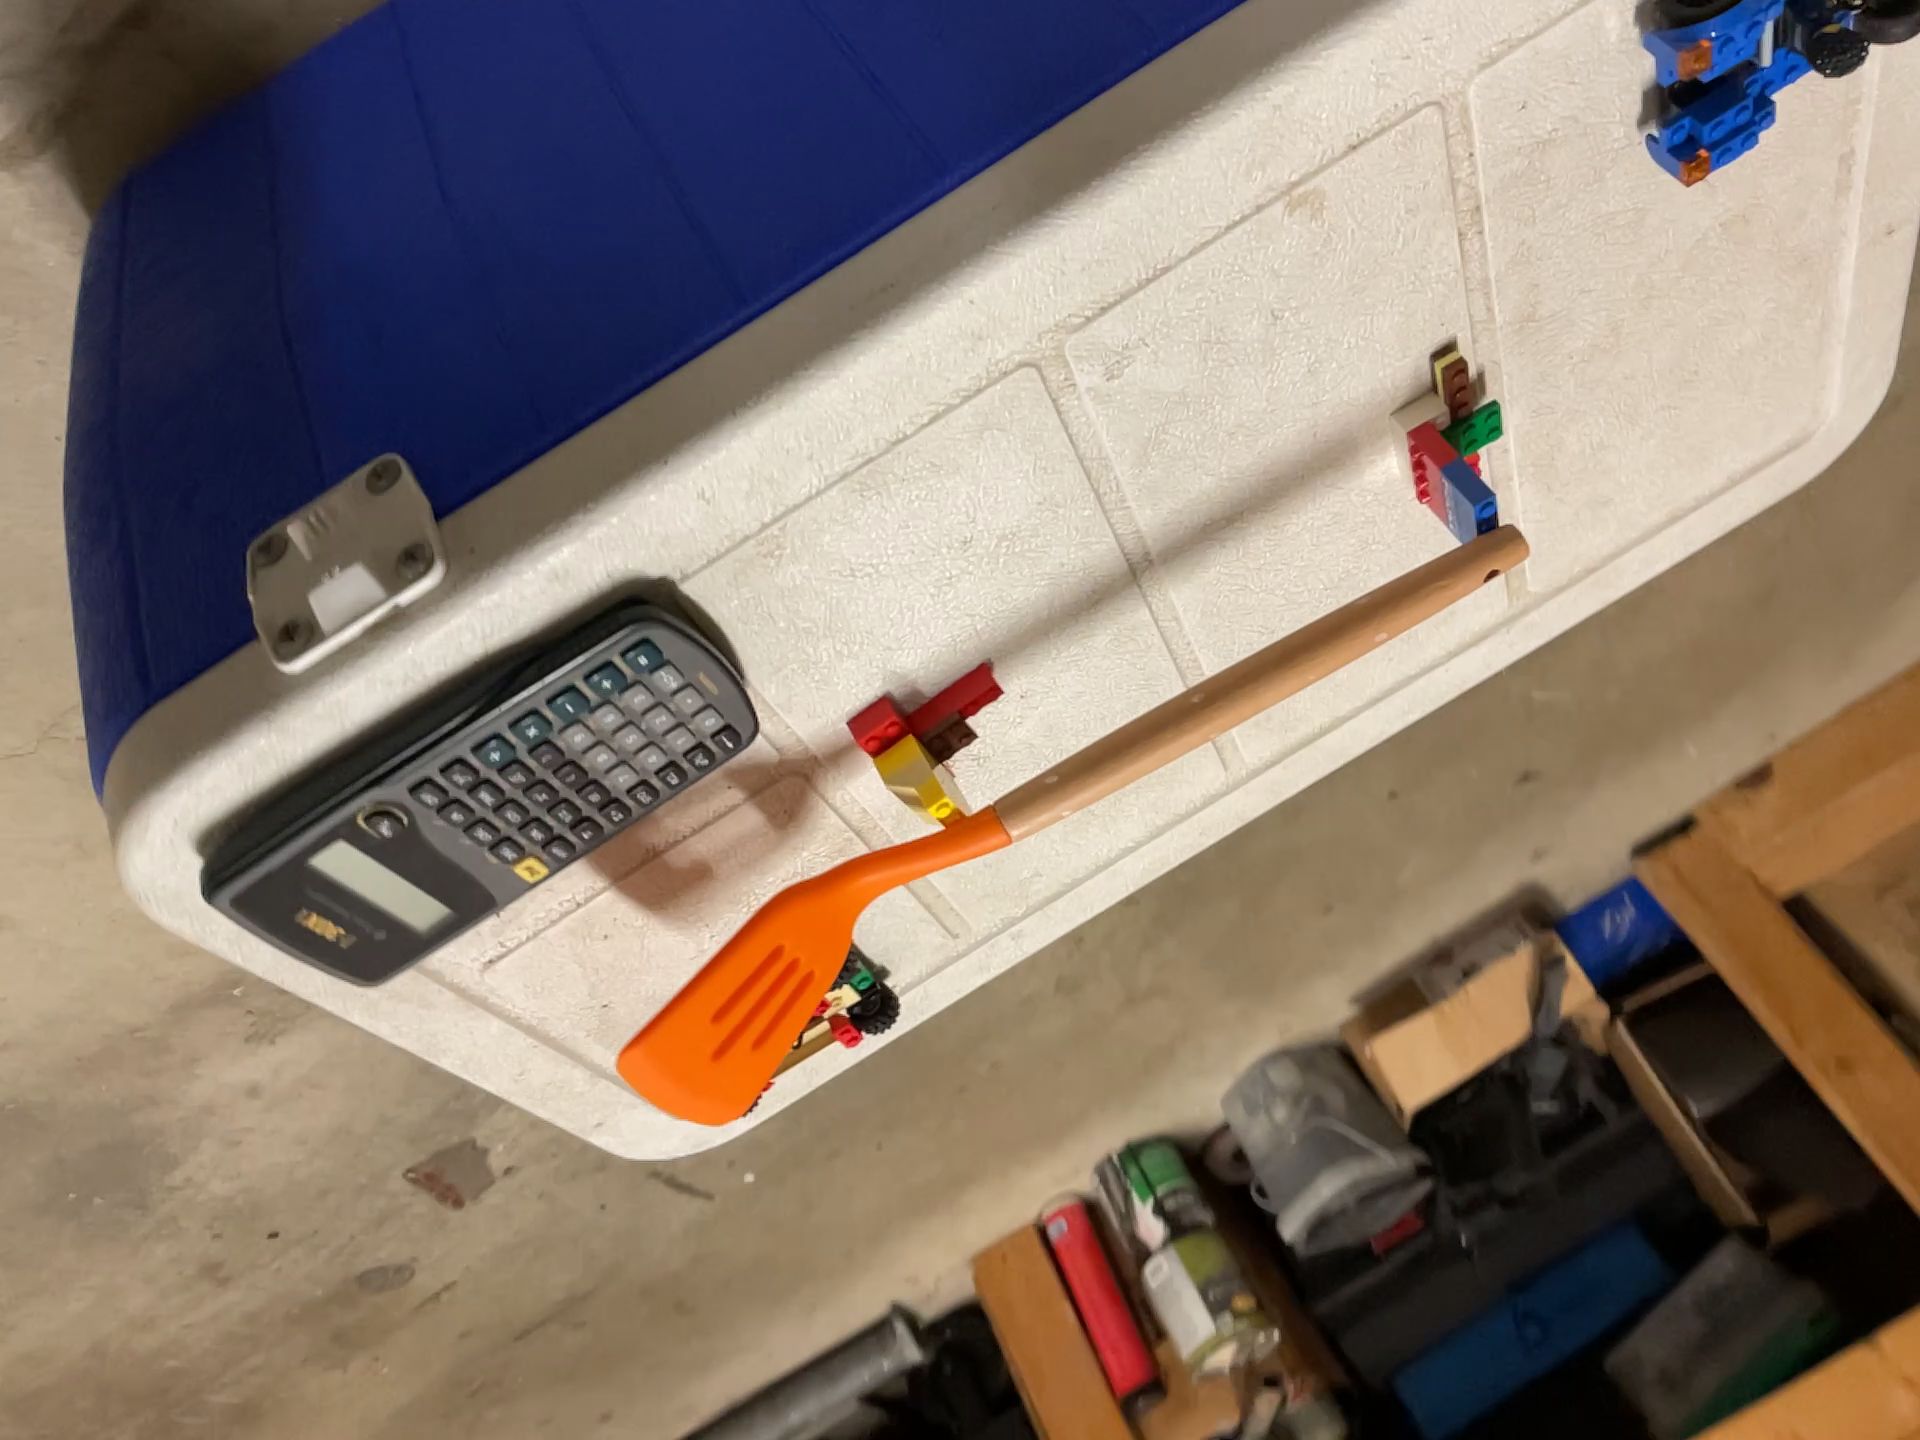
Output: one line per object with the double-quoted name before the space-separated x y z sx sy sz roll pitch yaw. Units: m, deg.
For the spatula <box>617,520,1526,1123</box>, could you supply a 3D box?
"spatula" 0.039 0.027 0.506 0.322 0.041 0.080 -29 147 2
